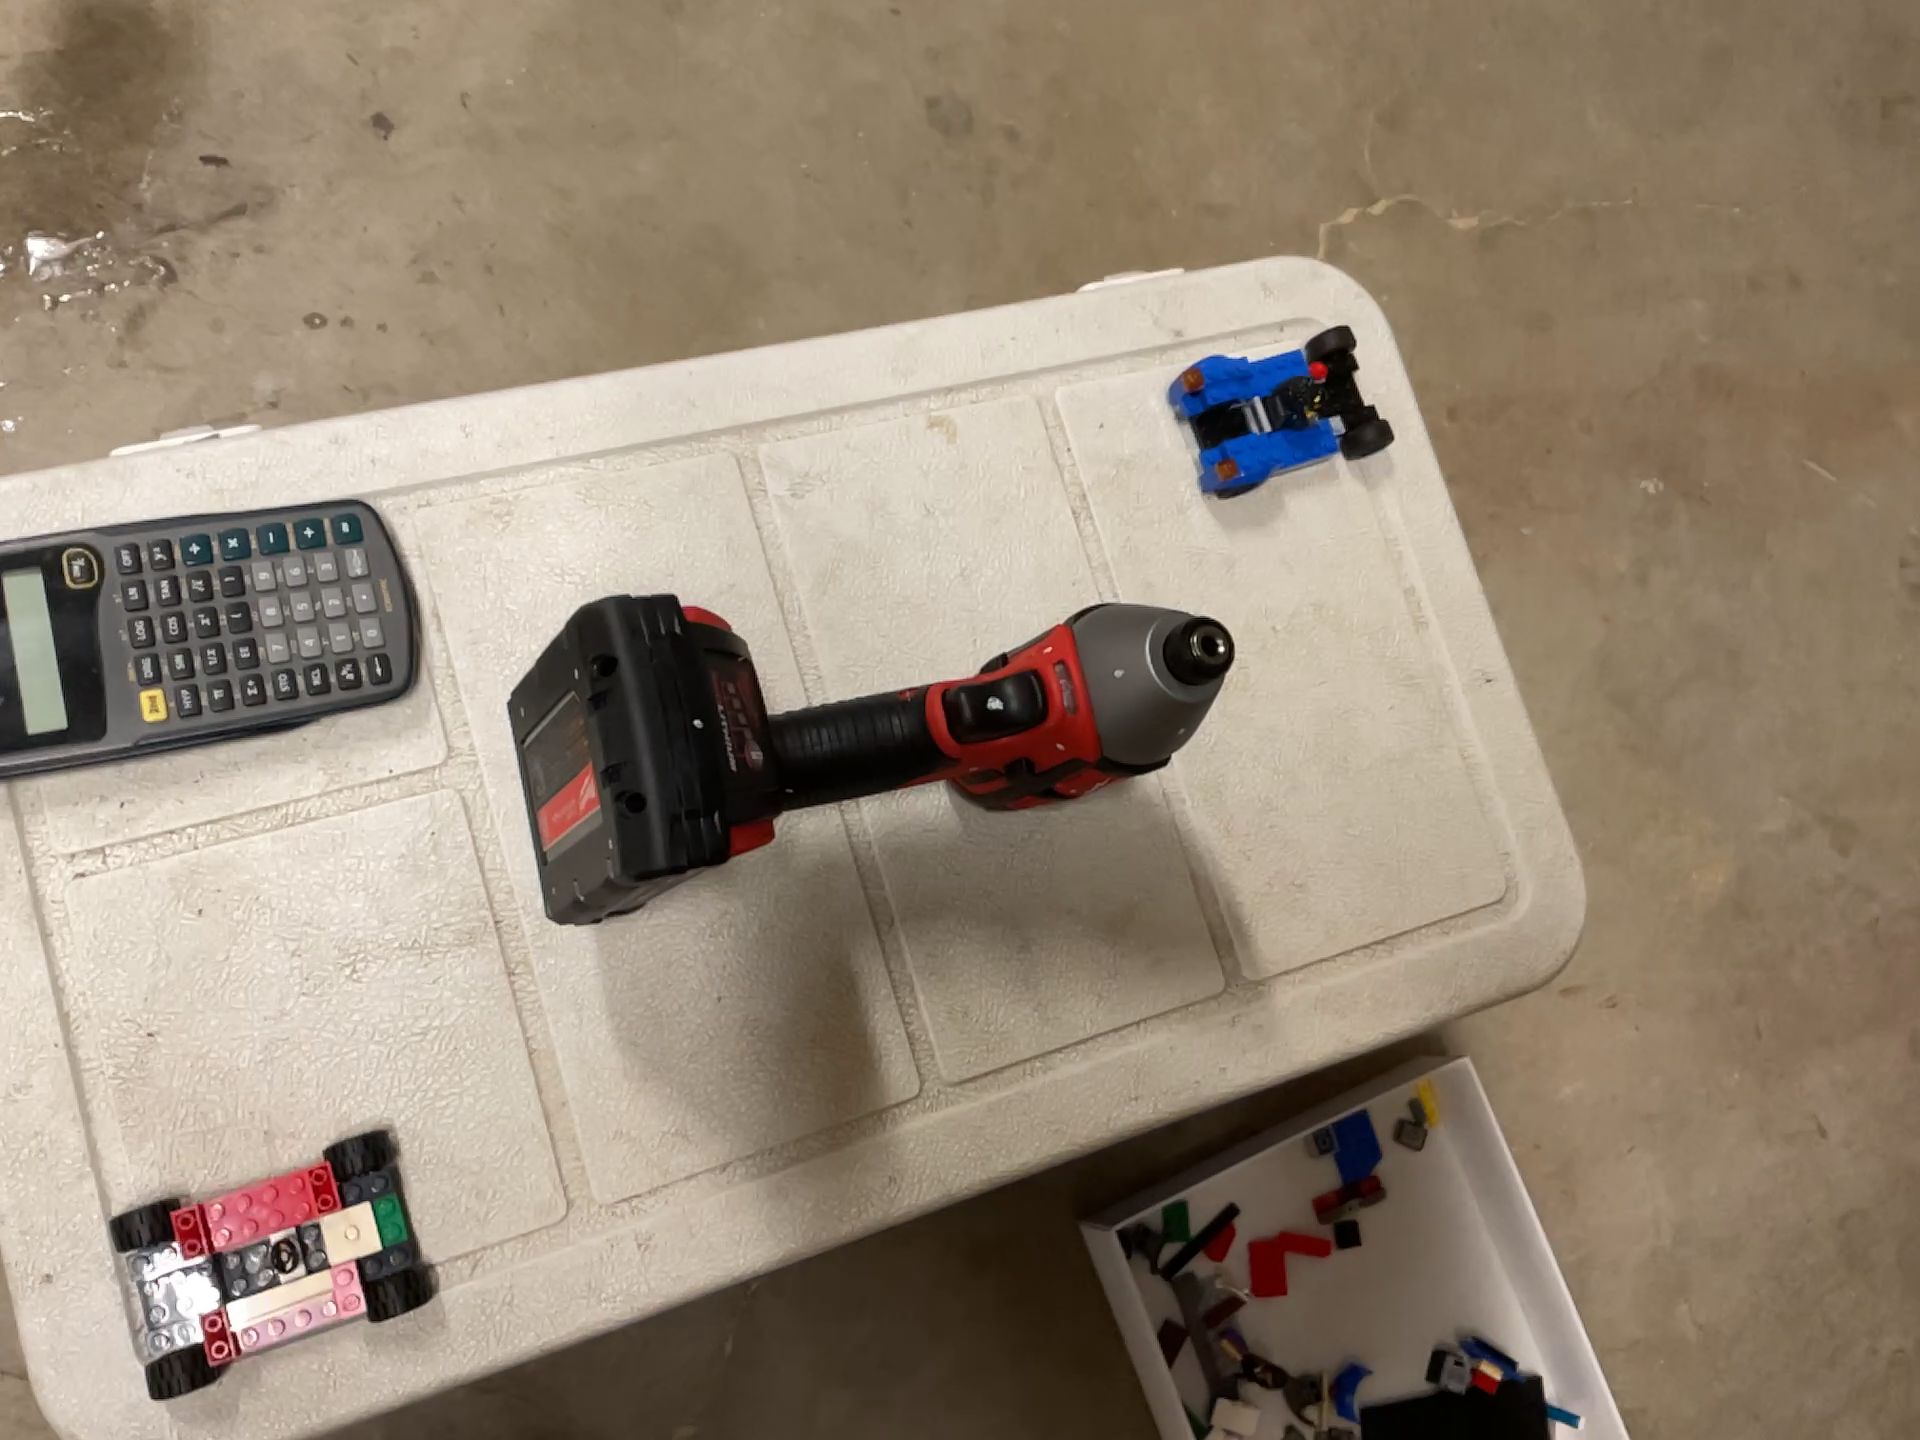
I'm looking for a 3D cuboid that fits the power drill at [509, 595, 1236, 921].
[{"bbox_3d":[-0.021,0.002,0.523,0.220,0.143,0.078,-8,80,-31],"label":"power drill"}]
